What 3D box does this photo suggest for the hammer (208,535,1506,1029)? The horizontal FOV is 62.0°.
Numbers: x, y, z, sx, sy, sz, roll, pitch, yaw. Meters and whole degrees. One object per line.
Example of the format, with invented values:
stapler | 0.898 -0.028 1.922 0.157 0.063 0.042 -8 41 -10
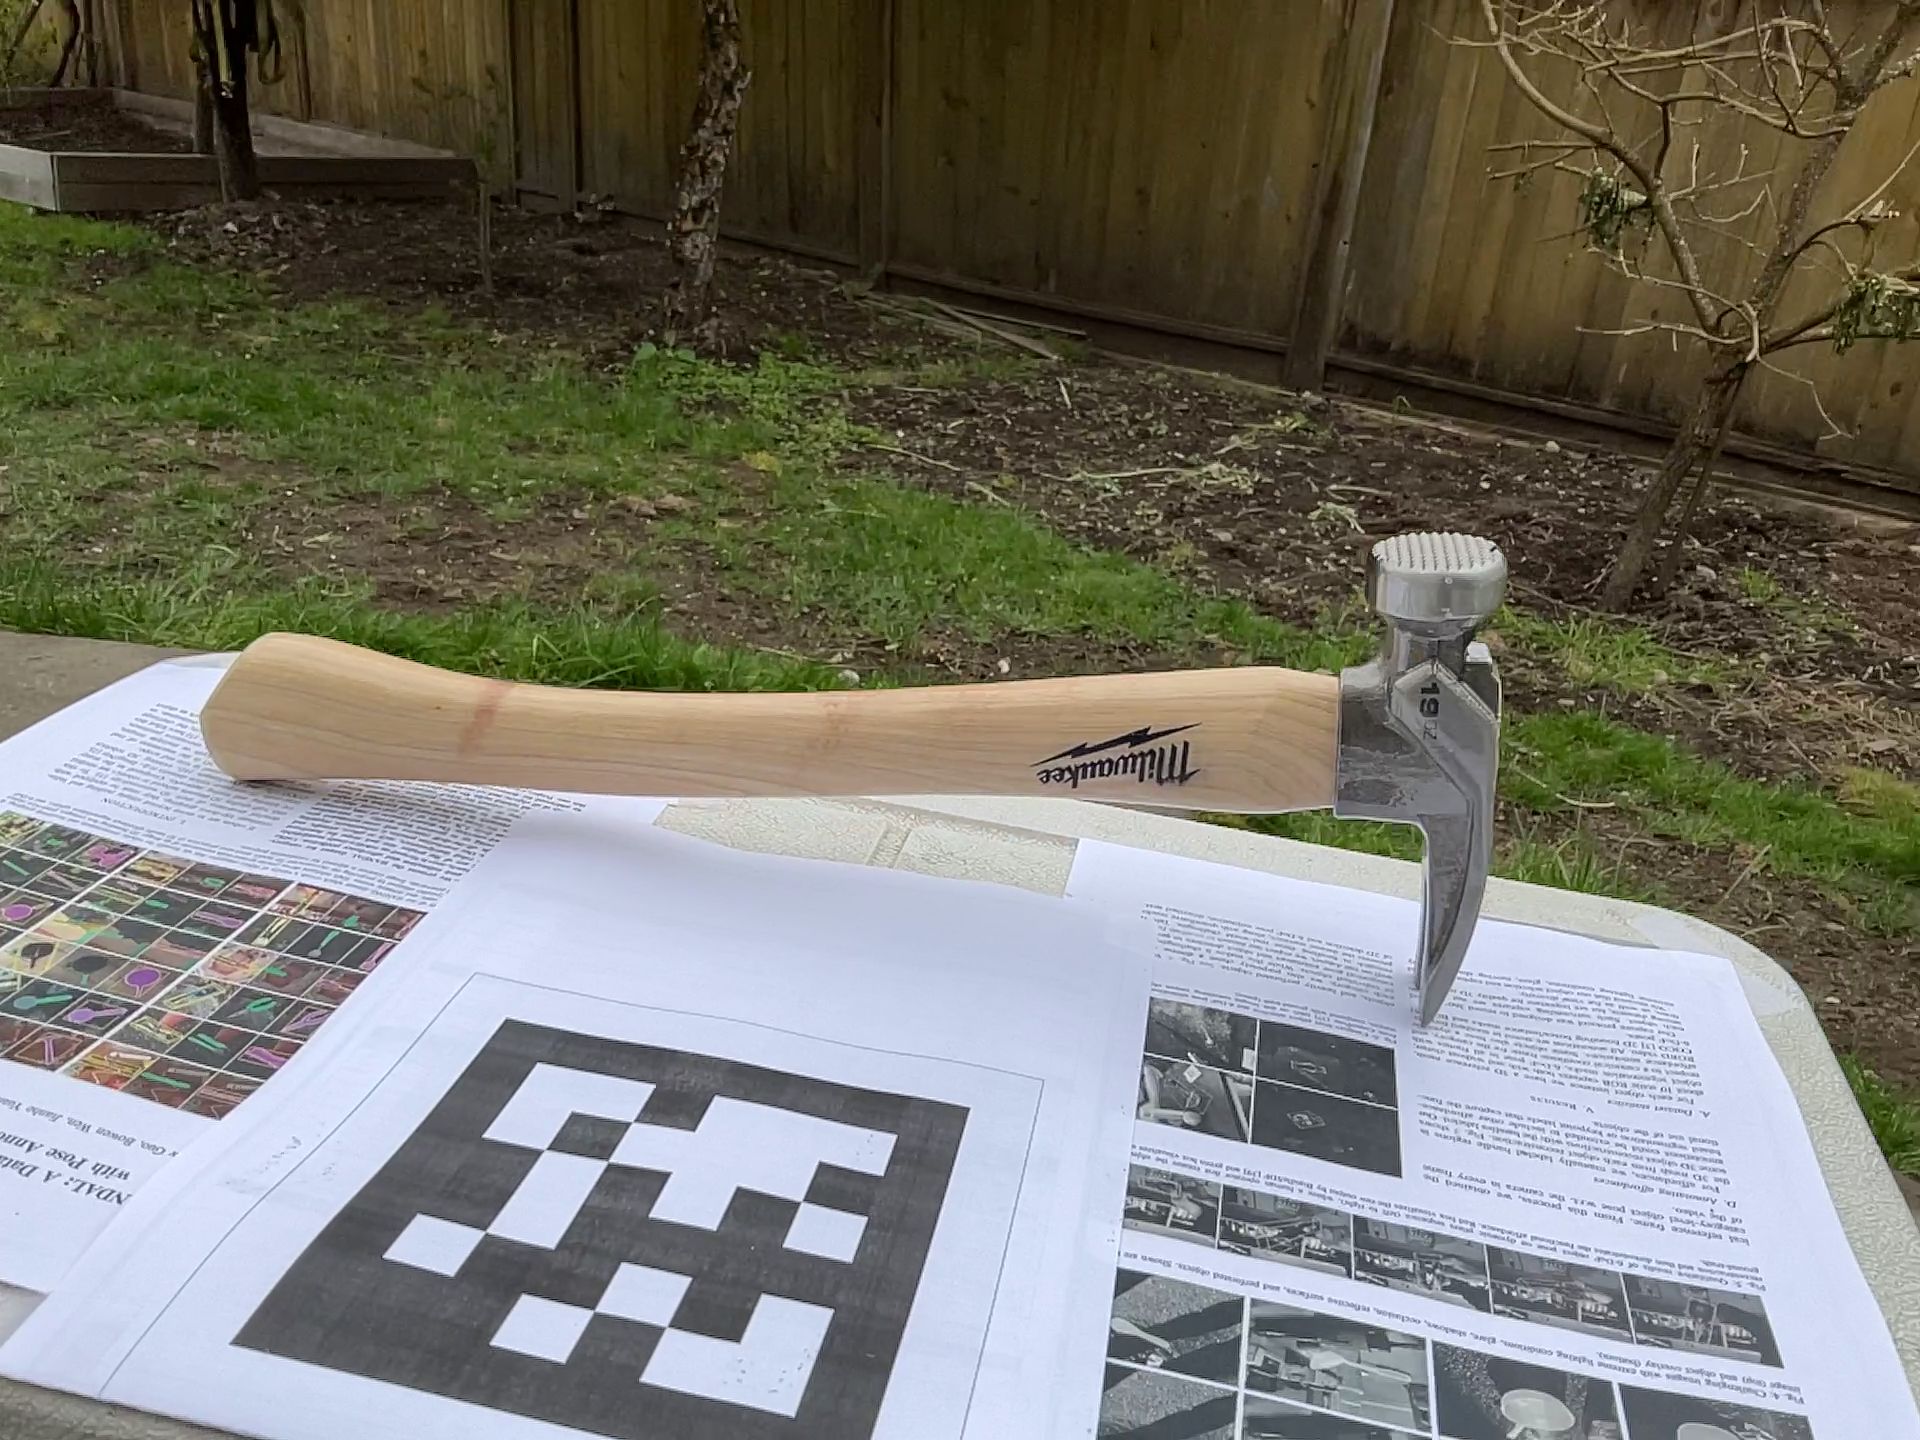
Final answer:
hammer | -0.045 0.017 0.509 0.410 0.146 0.038 1 22 12
